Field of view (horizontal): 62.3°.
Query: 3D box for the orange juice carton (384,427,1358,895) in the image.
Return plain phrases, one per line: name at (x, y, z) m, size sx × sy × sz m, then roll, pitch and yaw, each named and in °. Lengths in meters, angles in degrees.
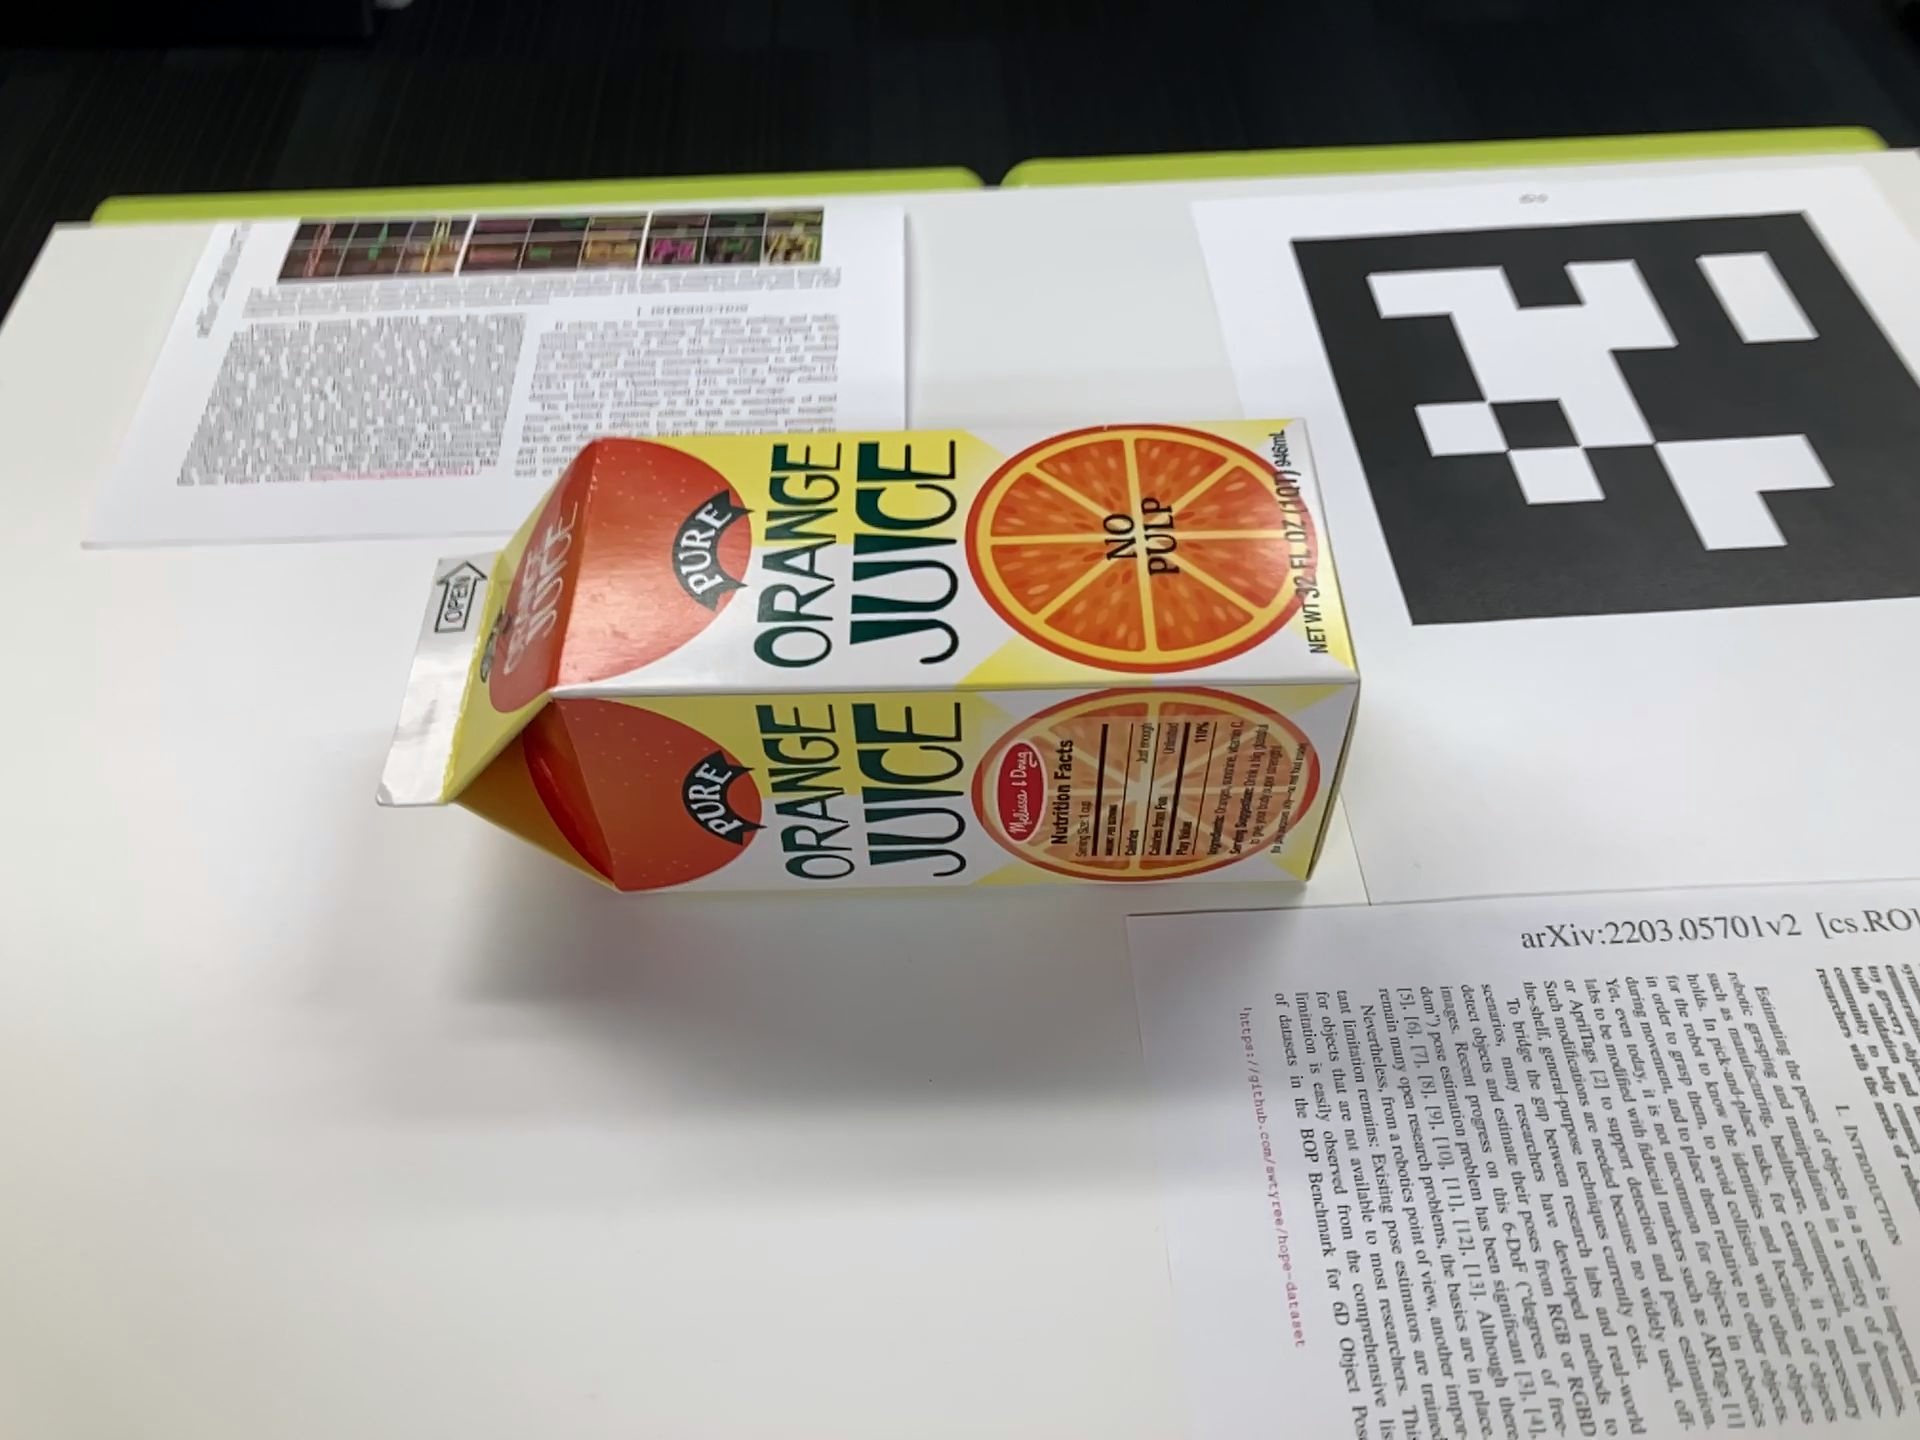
orange juice carton at (-0.021, -0.011, 0.339) m, size 0.192 × 0.073 × 0.072 m, roll -1°, pitch 52°, yaw 0°
